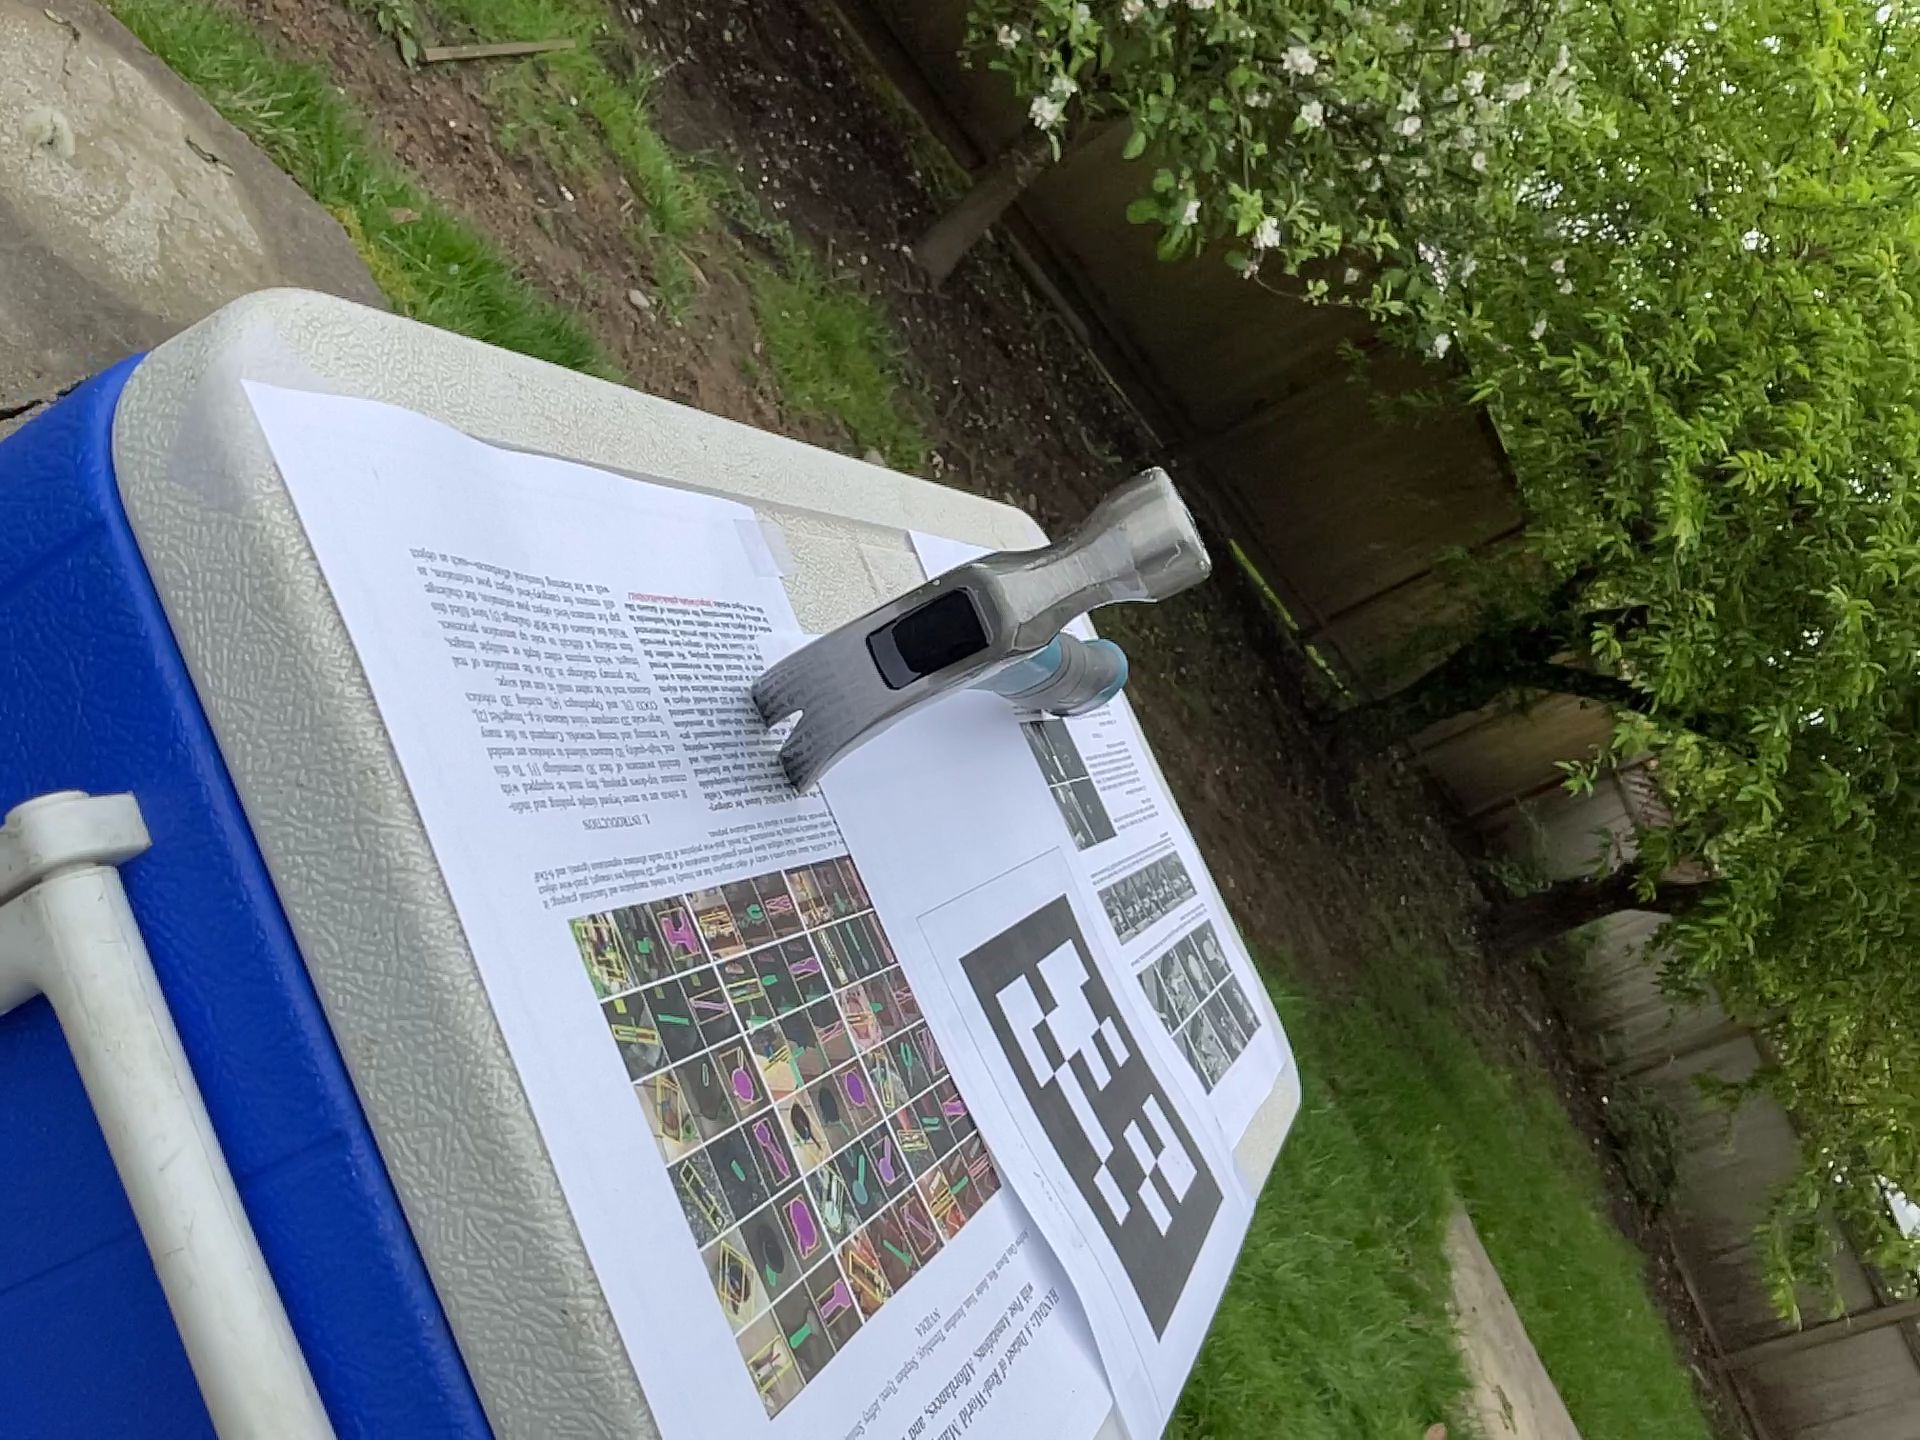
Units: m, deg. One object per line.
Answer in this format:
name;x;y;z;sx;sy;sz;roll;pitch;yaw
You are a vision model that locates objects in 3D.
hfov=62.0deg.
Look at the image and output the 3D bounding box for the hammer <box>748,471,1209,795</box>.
hammer;0.023;-0.019;0.539;0.033;0.128;0.331;66;9;5
